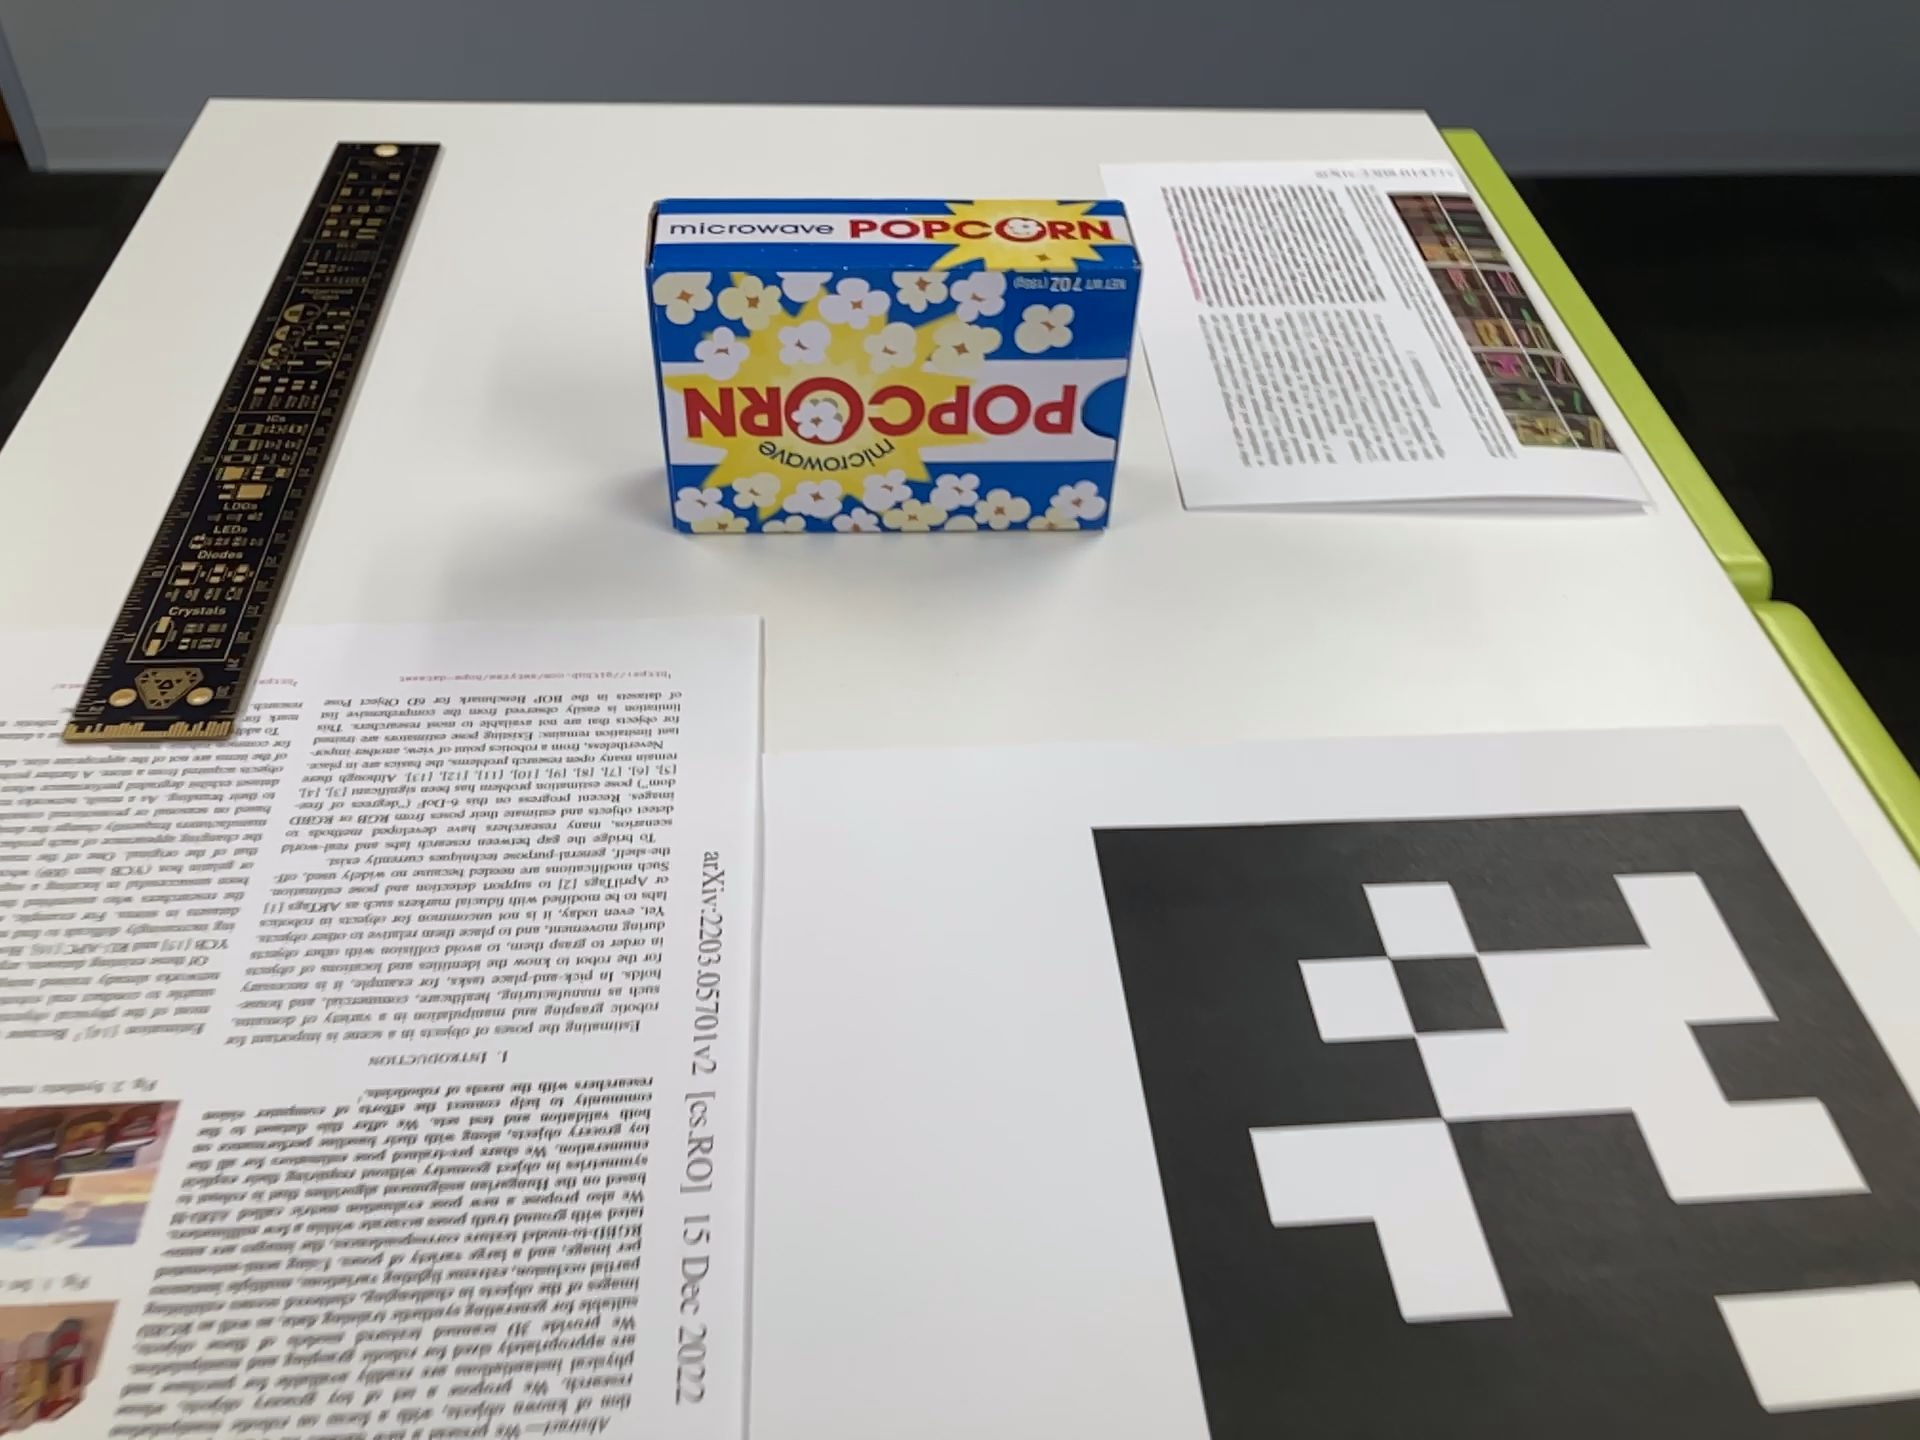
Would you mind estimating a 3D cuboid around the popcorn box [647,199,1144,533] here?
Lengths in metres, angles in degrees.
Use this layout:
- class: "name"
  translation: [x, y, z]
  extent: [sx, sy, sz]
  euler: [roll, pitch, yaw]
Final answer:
- class: "popcorn box"
  translation: [-0.019, -0.096, 0.438]
  extent: [0.126, 0.085, 0.038]
  euler: [-1, 44, -5]
